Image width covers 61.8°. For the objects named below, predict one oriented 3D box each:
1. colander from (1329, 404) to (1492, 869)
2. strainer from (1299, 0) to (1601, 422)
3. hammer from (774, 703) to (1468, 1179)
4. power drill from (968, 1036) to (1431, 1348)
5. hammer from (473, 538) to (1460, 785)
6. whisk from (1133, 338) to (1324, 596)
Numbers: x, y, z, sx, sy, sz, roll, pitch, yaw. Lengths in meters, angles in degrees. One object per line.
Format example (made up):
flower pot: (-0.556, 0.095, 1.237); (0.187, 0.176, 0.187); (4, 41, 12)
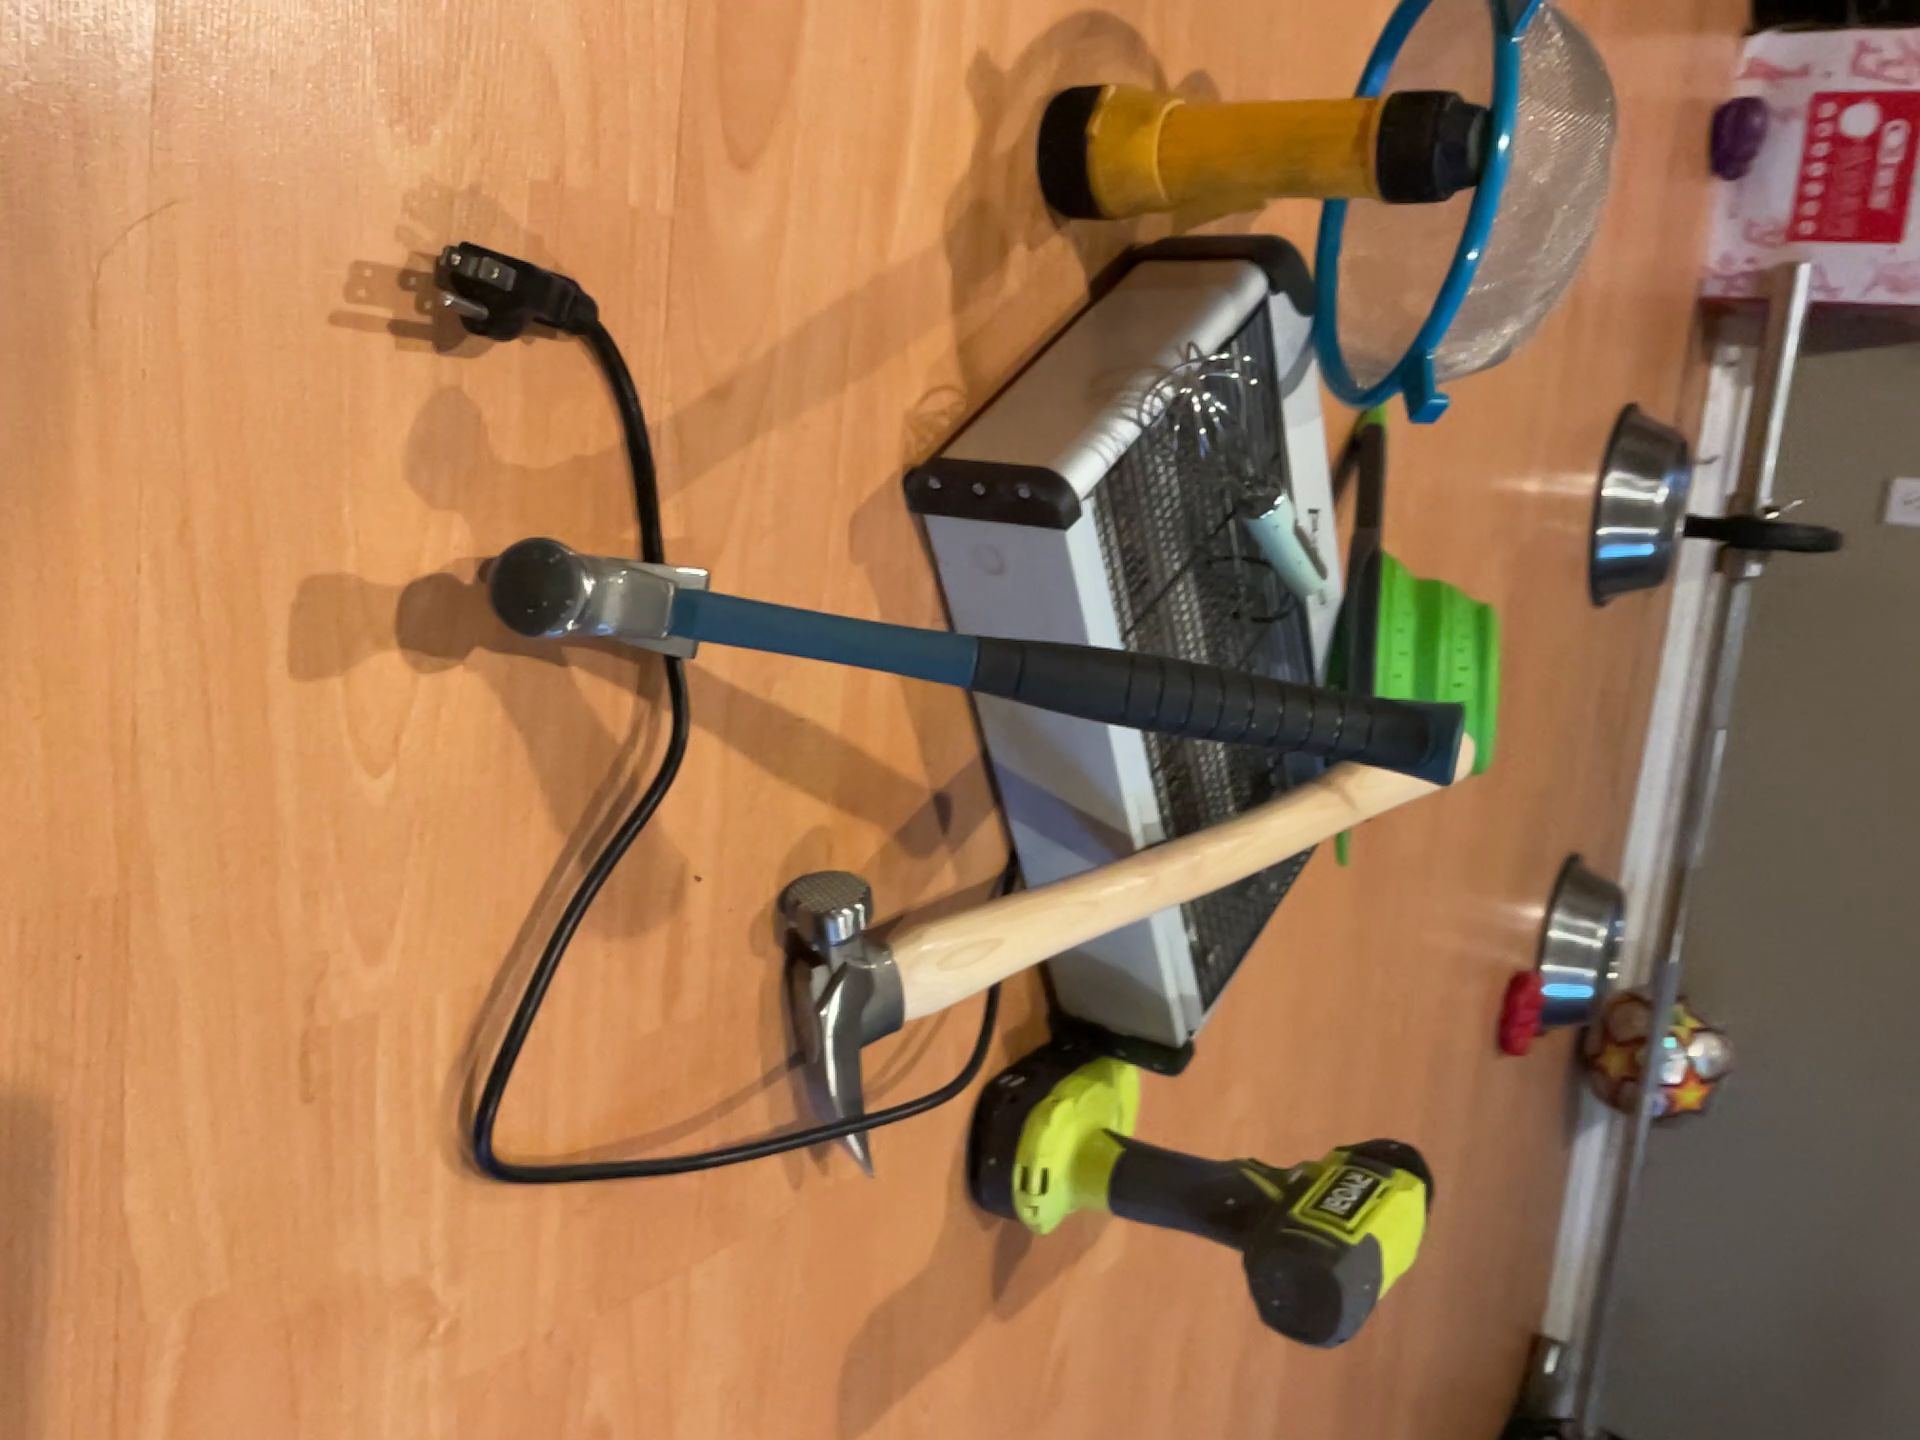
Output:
colander: (0.307, -0.082, 1.084); (0.204, 0.094, 0.397); (75, 23, -47)
strainer: (0.246, -0.274, 0.840); (0.340, 0.095, 0.210); (-96, -164, -69)
hammer: (0.101, 0.084, 0.799); (0.411, 0.038, 0.146); (-19, 117, -28)
power drill: (0.133, 0.244, 0.870); (0.171, 0.223, 0.080); (-15, 113, -56)
hammer: (0.014, -0.017, 0.541); (0.128, 0.331, 0.033); (-153, -107, -81)
whisk: (0.143, -0.114, 0.788); (0.246, 0.059, 0.058); (36, 40, -60)
